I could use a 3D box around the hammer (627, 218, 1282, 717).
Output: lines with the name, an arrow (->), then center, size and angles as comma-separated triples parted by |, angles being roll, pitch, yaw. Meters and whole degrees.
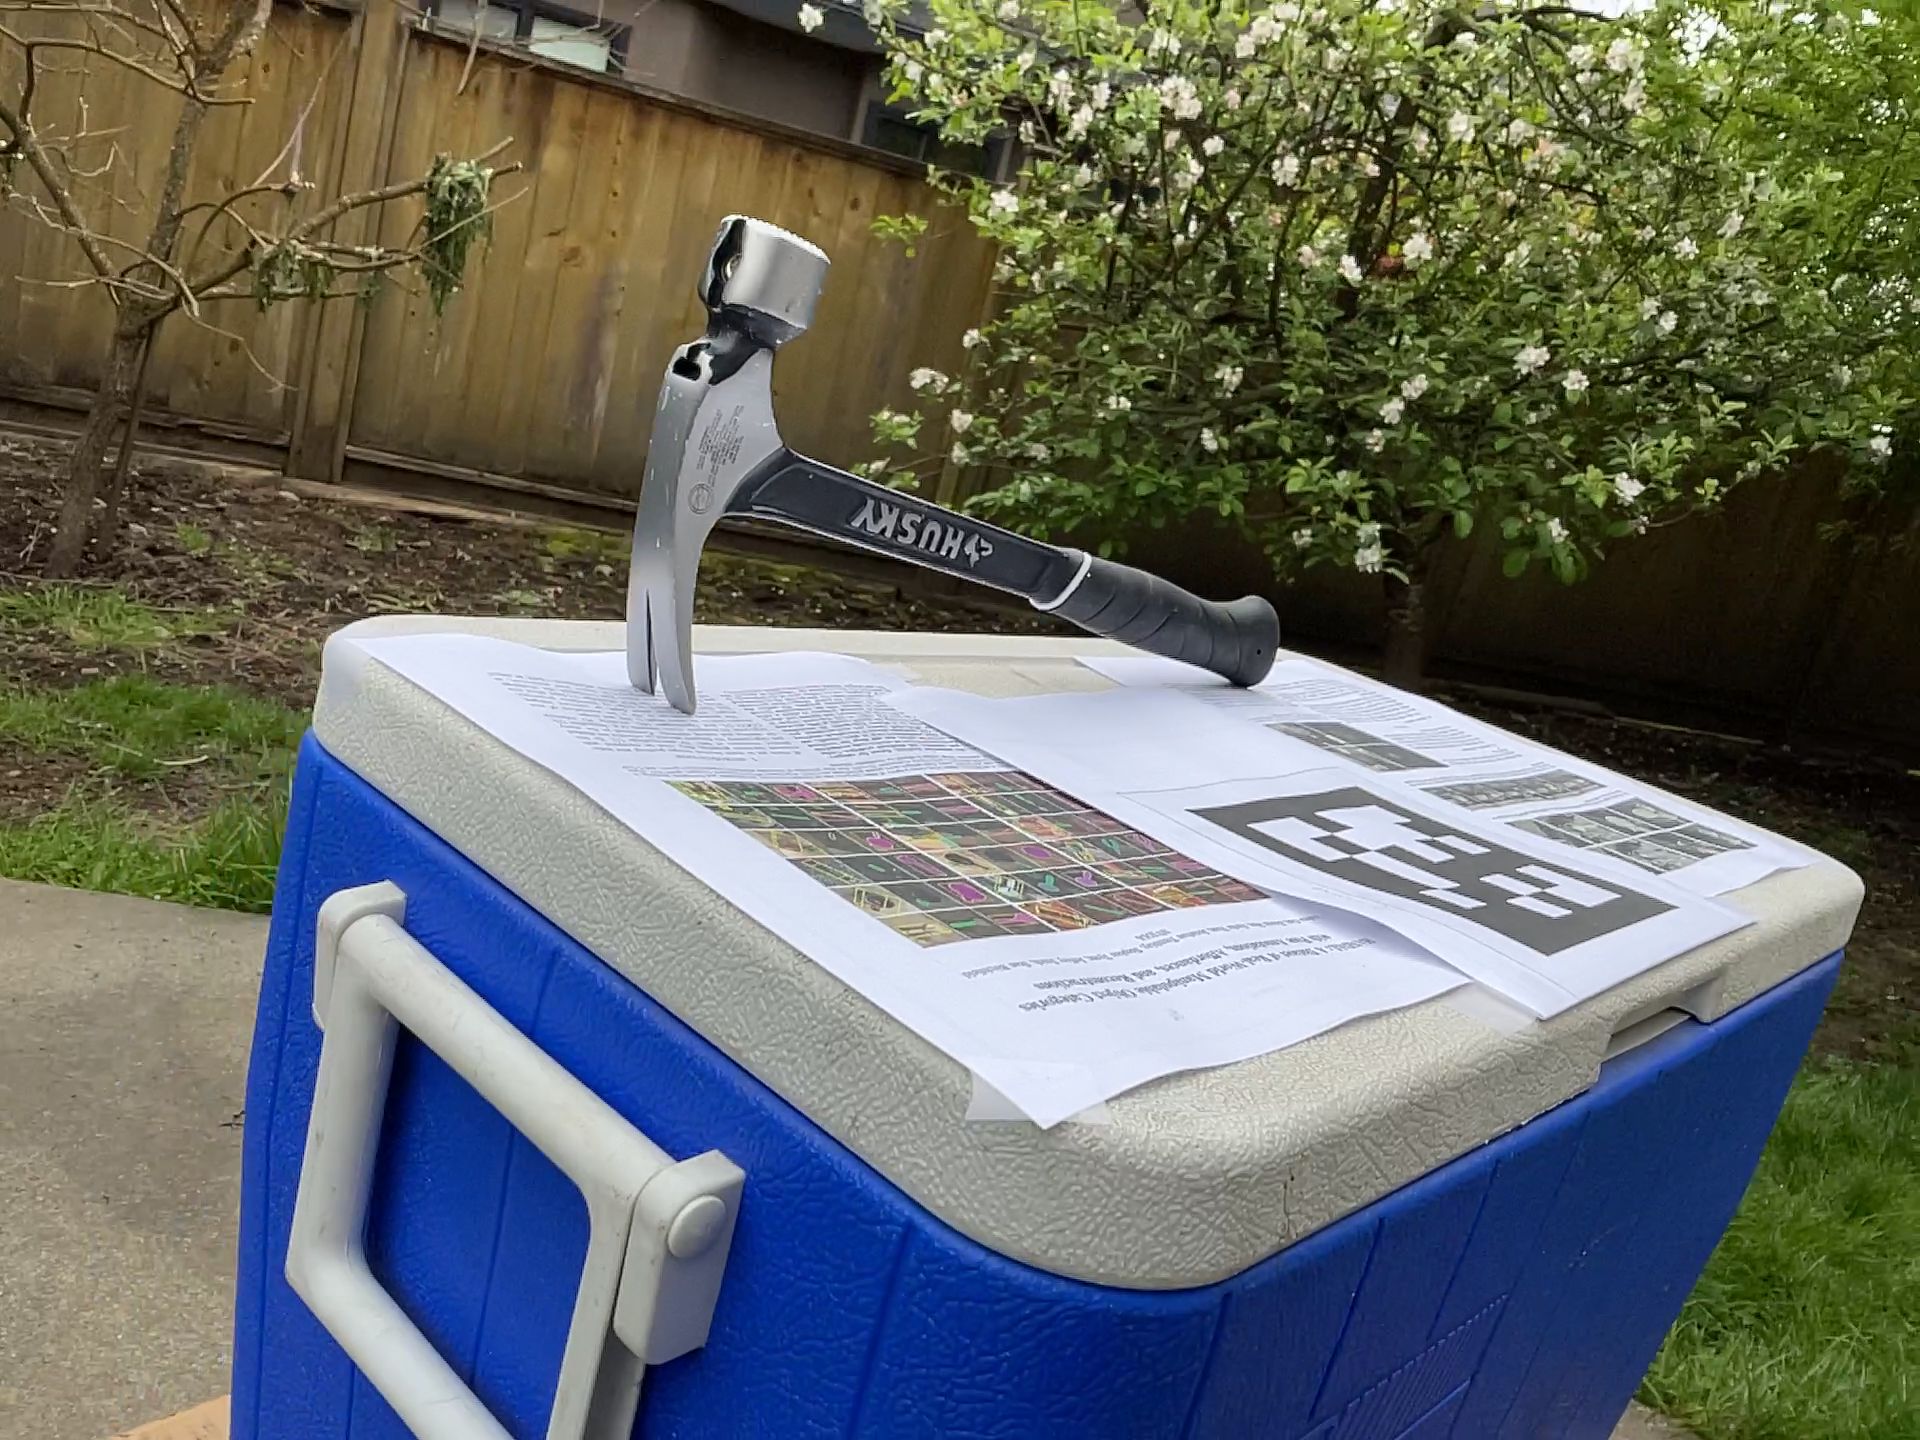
hammer -> 0.029, -0.054, 0.639 | 0.036, 0.149, 0.408 | 25, 7, 36
